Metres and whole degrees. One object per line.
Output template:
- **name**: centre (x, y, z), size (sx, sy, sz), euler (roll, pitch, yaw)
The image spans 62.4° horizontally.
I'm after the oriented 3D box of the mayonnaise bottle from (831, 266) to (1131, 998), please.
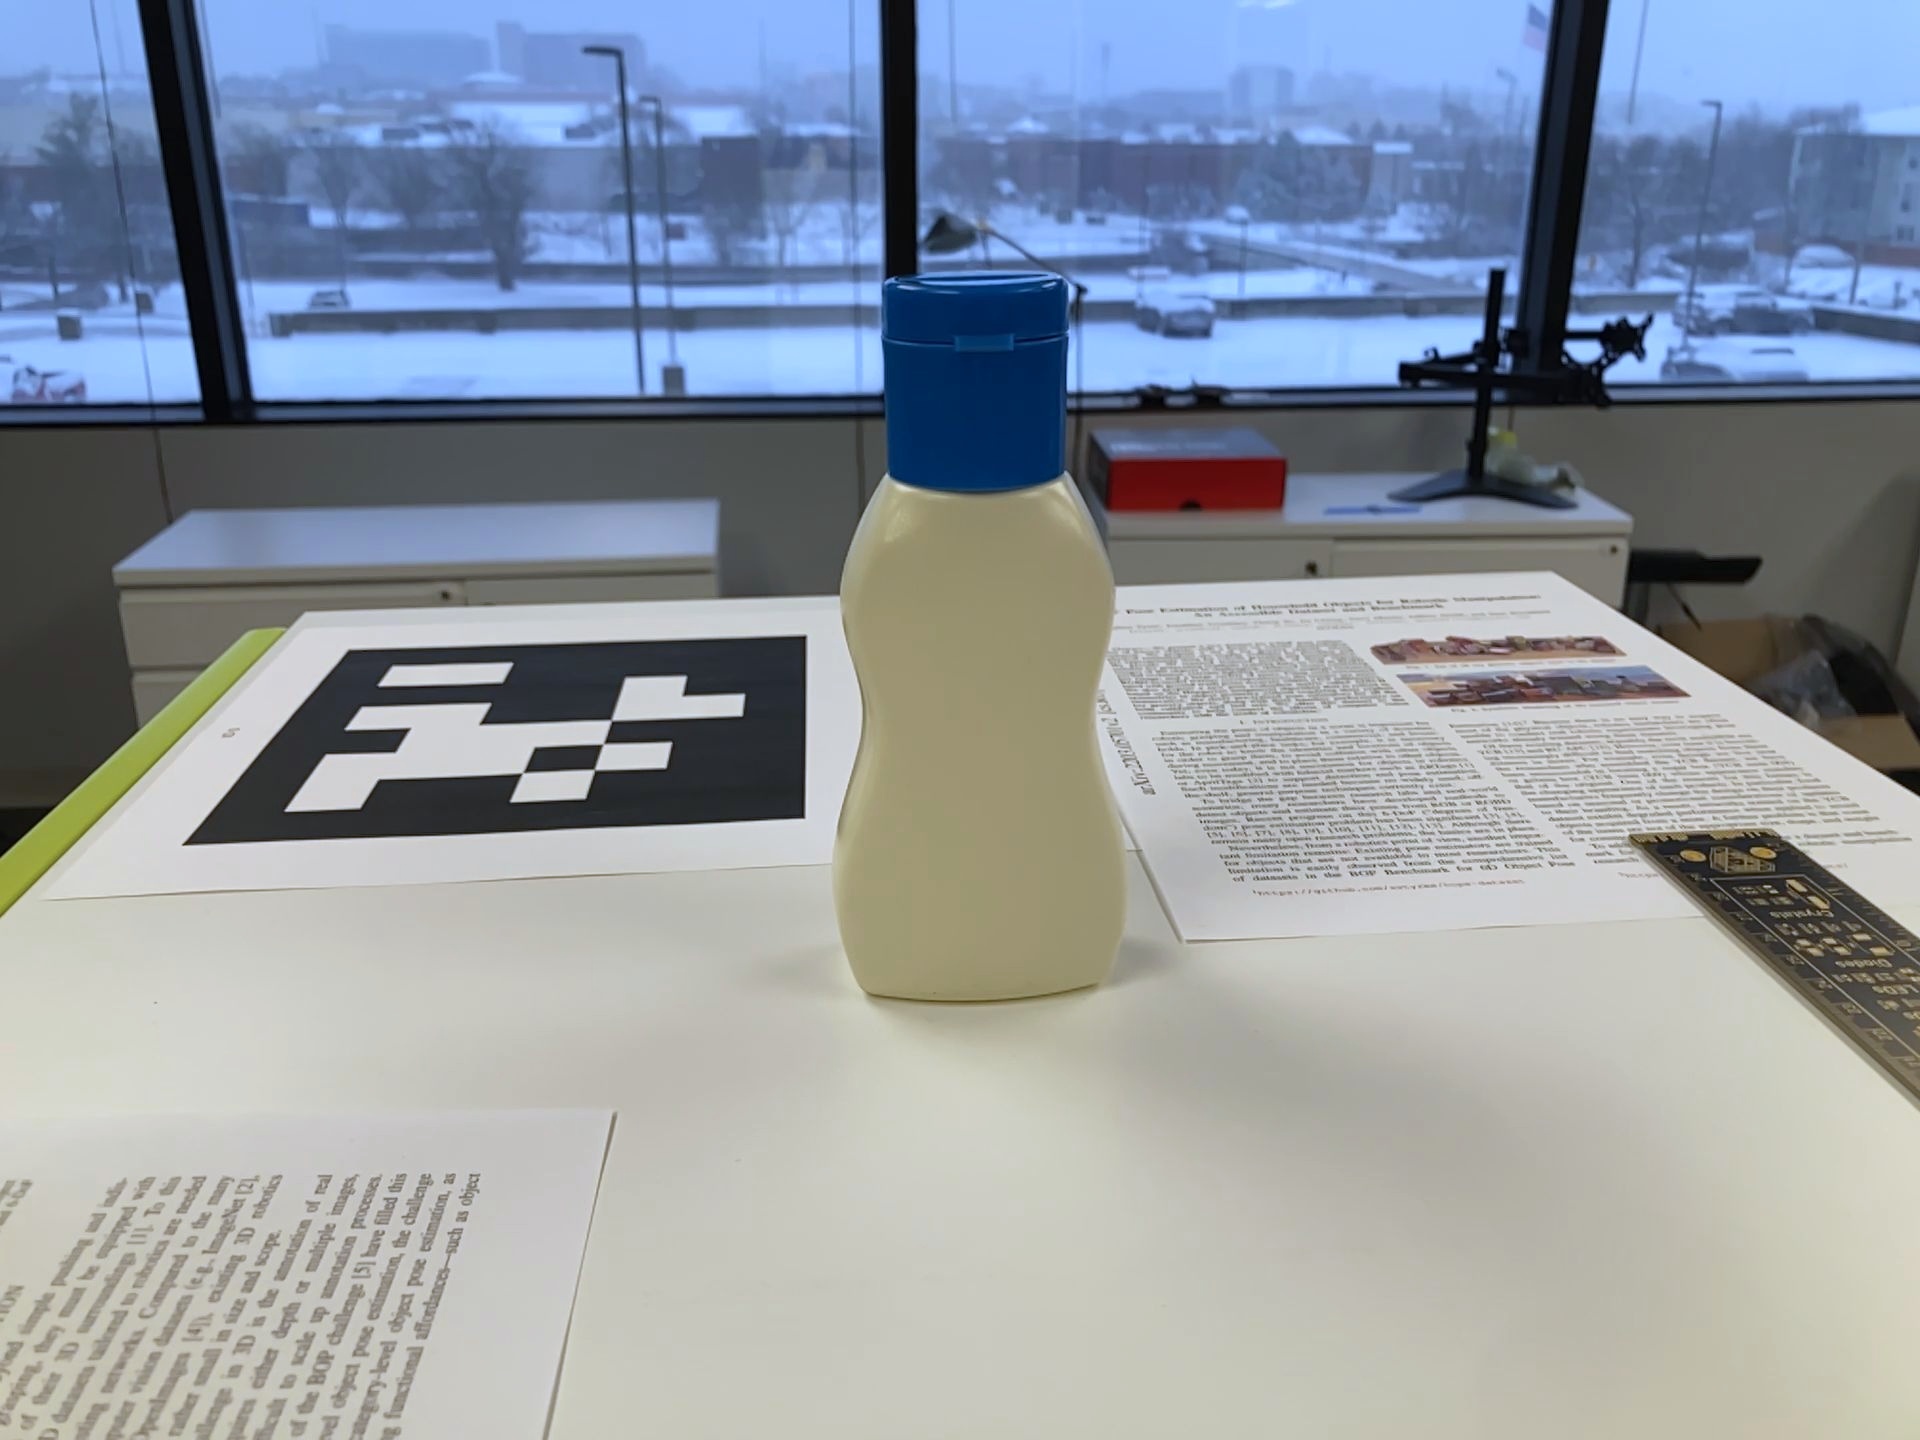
- **mayonnaise bottle**: centre (0.004, -0.016, 0.328), size (0.065, 0.148, 0.041), euler (-2, 19, -4)
